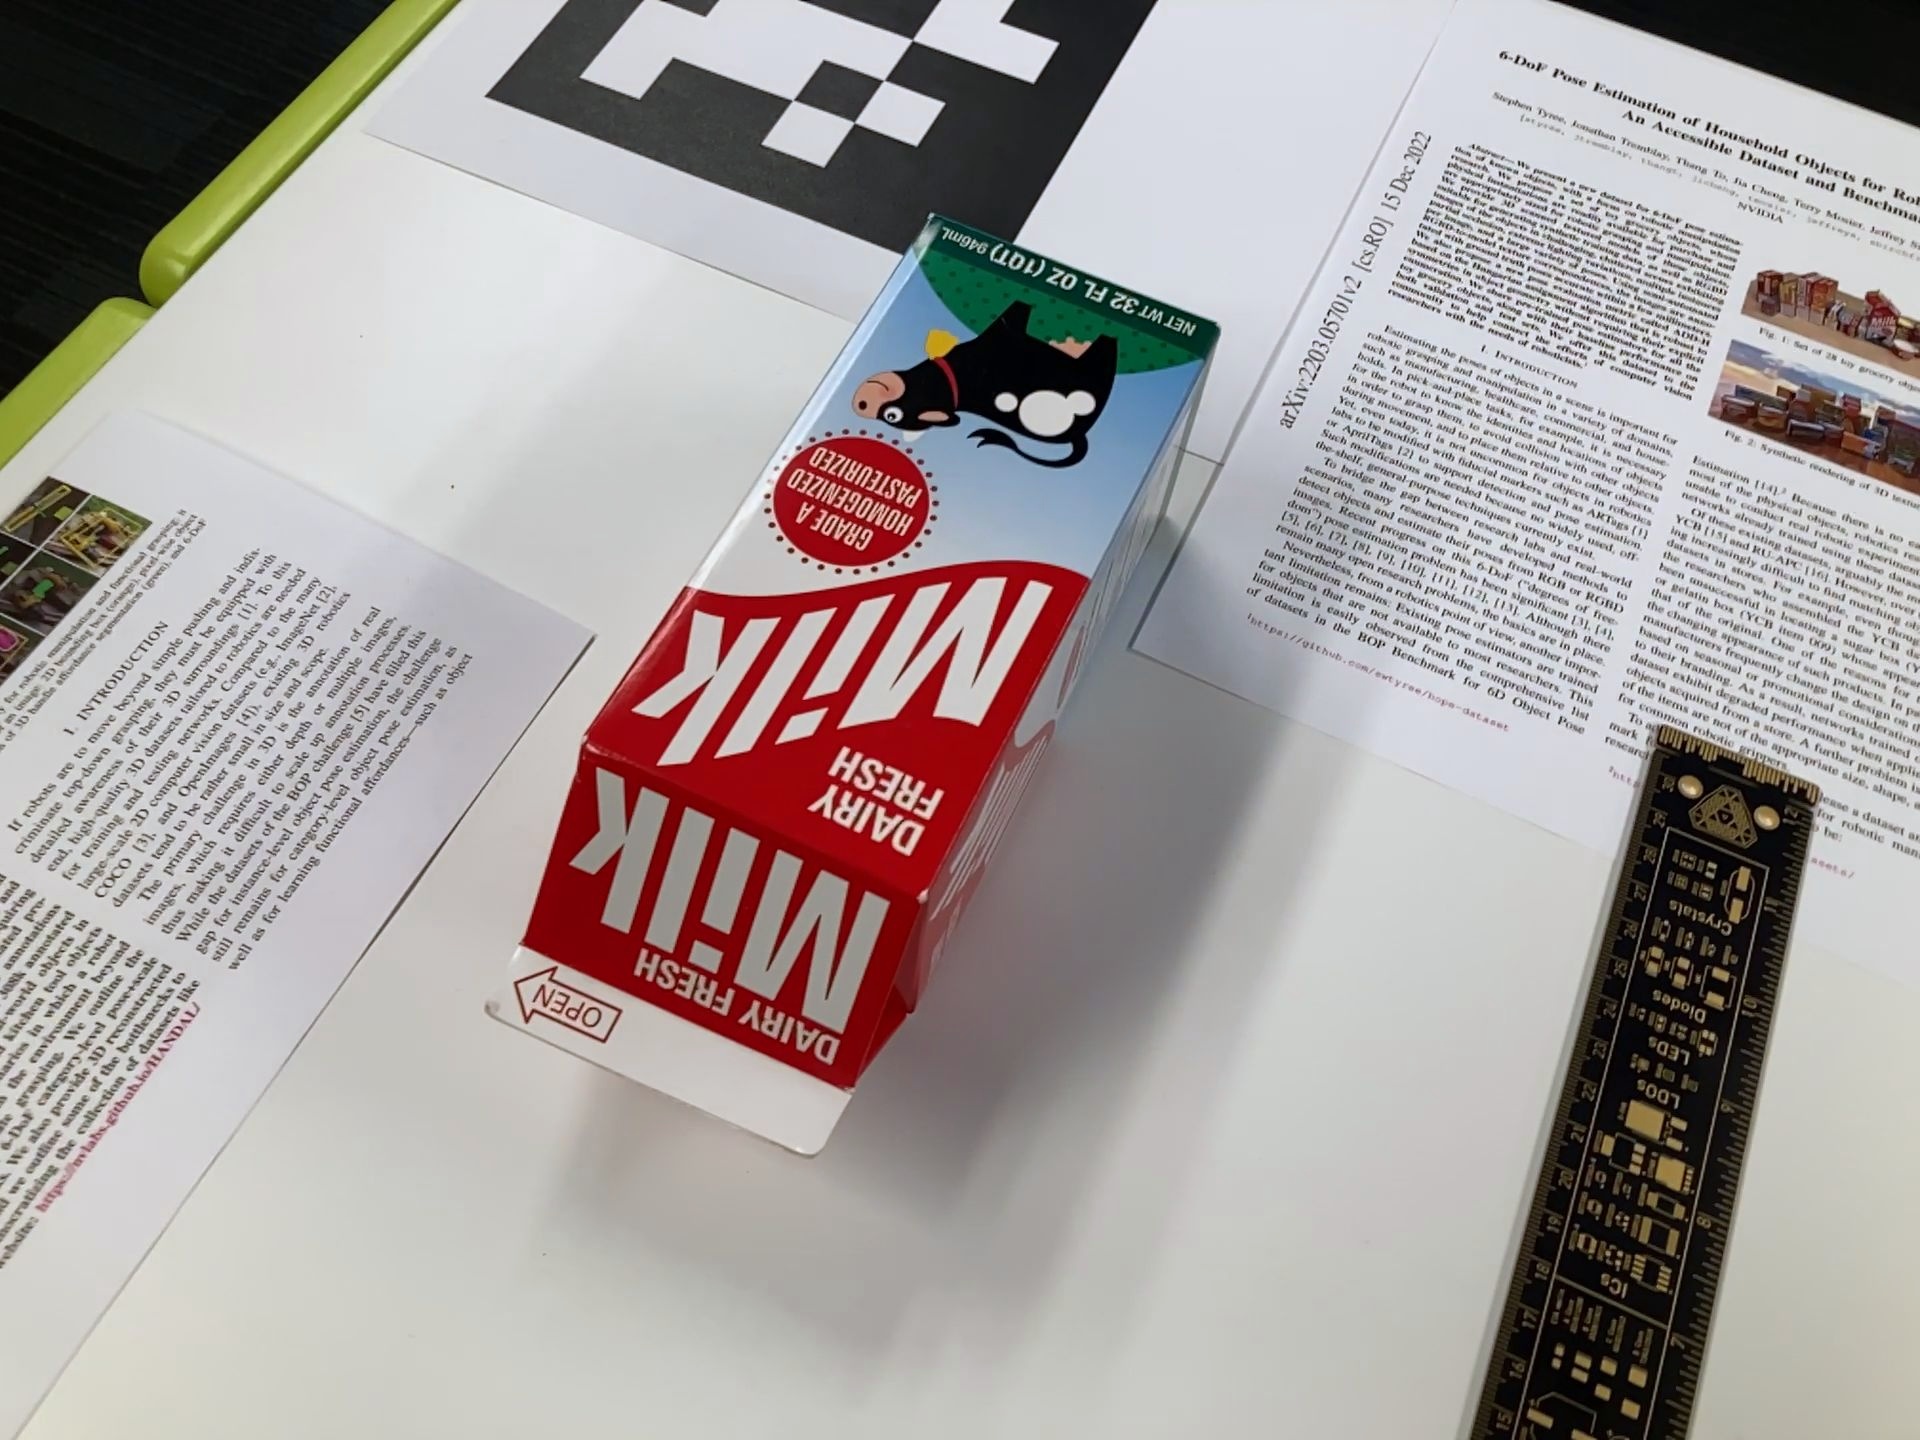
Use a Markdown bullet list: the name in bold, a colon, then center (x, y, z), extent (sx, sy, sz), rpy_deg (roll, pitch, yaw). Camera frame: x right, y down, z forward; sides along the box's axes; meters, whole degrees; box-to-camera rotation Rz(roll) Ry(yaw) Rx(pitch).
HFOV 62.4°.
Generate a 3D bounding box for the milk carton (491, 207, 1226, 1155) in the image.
- **milk carton**: center (-0.017, -0.009, 0.335), extent (0.072, 0.073, 0.190), rpy_deg (24, 64, 8)
